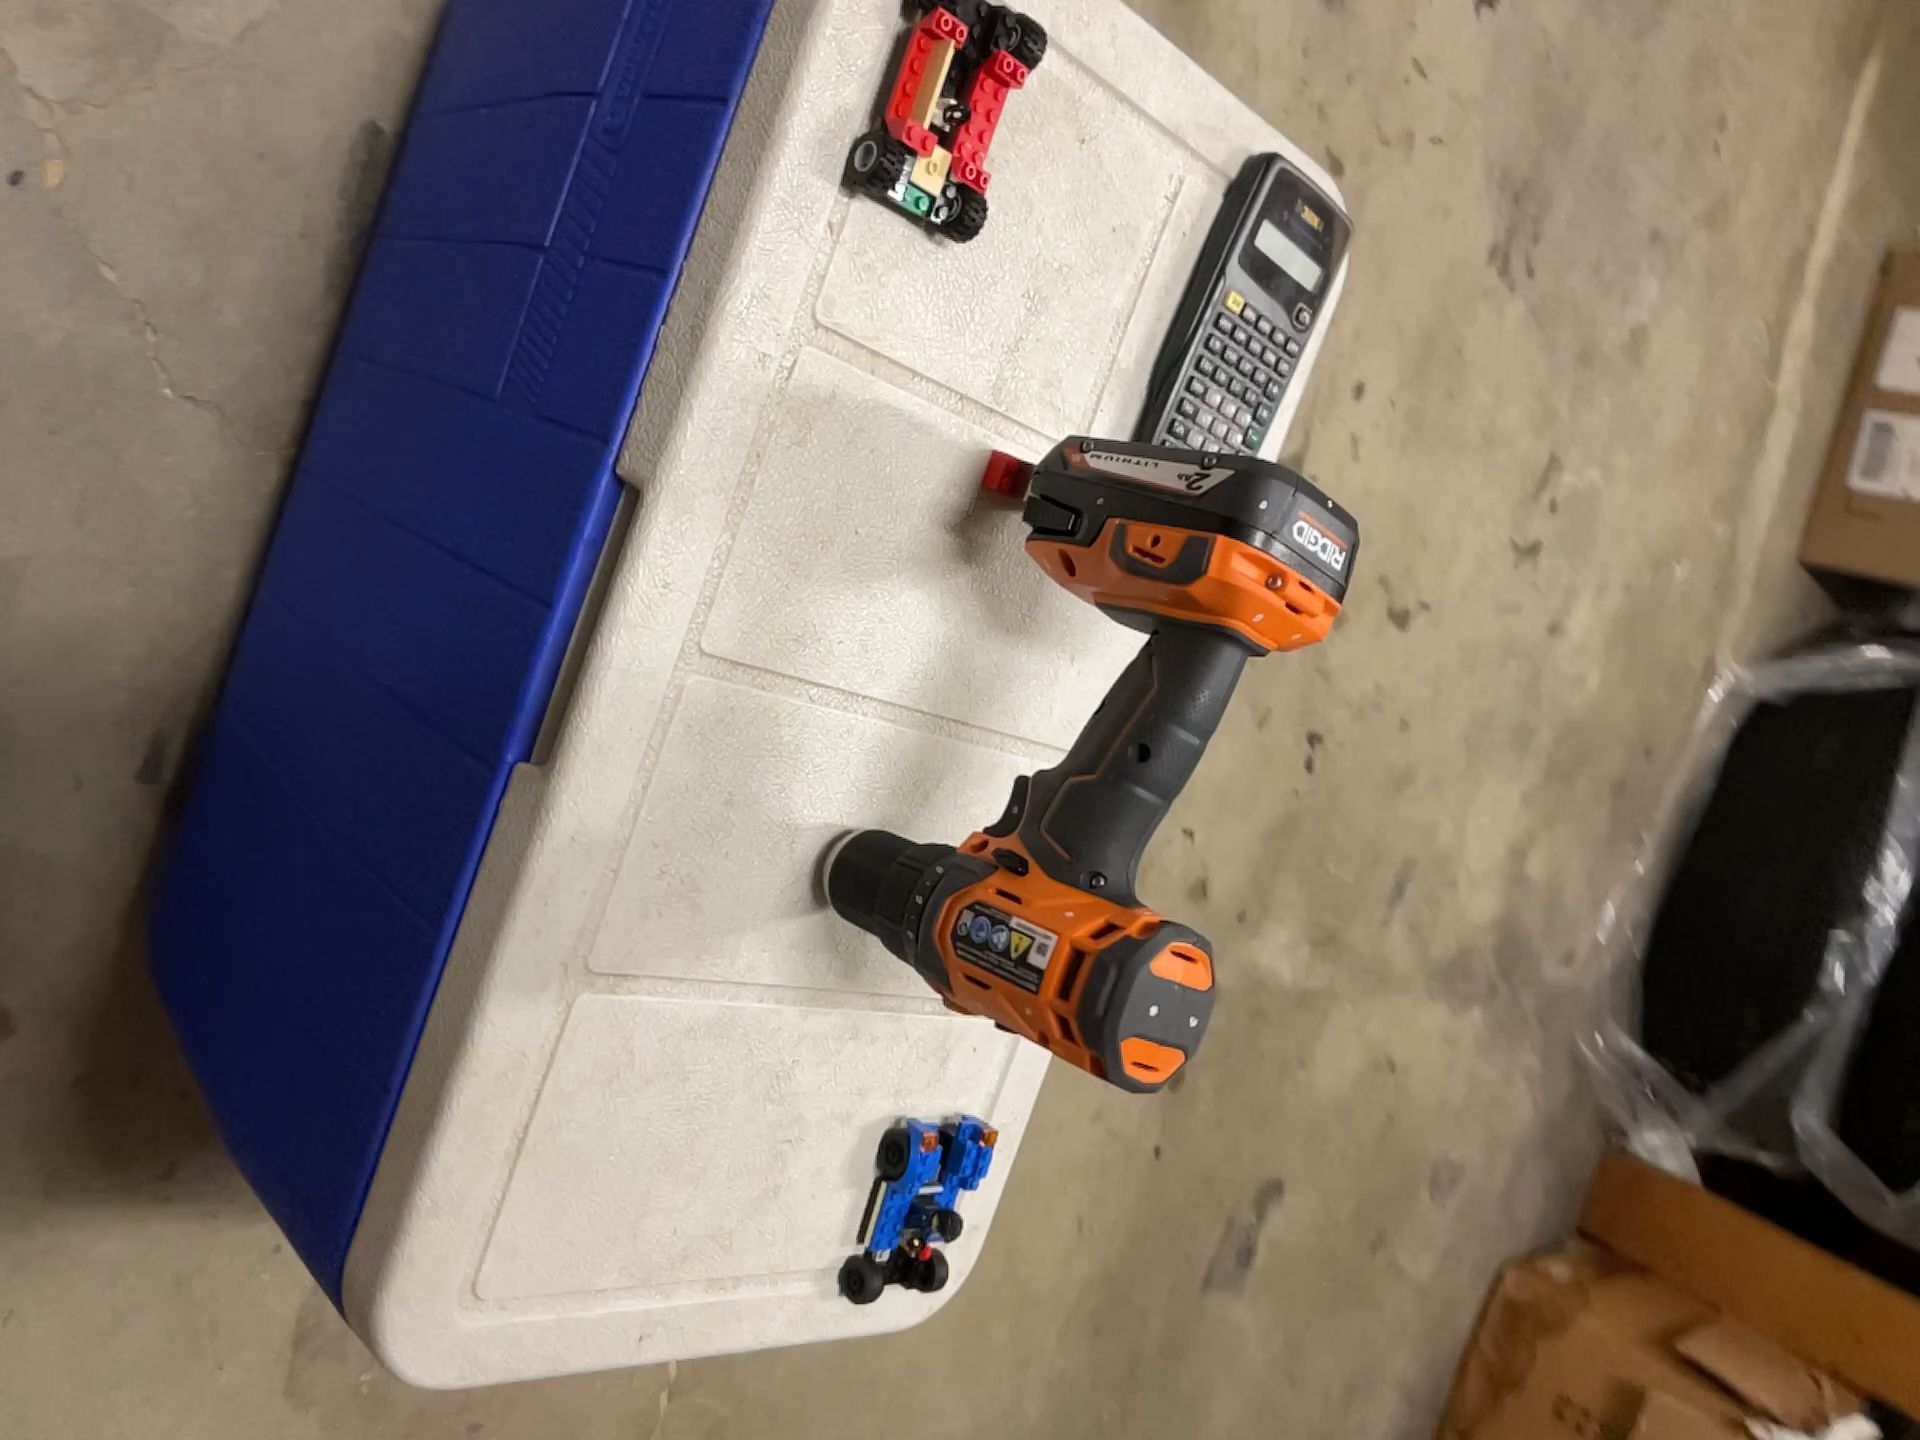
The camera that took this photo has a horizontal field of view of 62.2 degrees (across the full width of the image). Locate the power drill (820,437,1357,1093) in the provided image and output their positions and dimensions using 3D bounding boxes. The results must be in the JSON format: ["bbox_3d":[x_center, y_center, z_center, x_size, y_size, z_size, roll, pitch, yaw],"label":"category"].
[{"bbox_3d":[0.040,0.009,0.624,0.084,0.185,0.226,24,85,-44],"label":"power drill"}]
